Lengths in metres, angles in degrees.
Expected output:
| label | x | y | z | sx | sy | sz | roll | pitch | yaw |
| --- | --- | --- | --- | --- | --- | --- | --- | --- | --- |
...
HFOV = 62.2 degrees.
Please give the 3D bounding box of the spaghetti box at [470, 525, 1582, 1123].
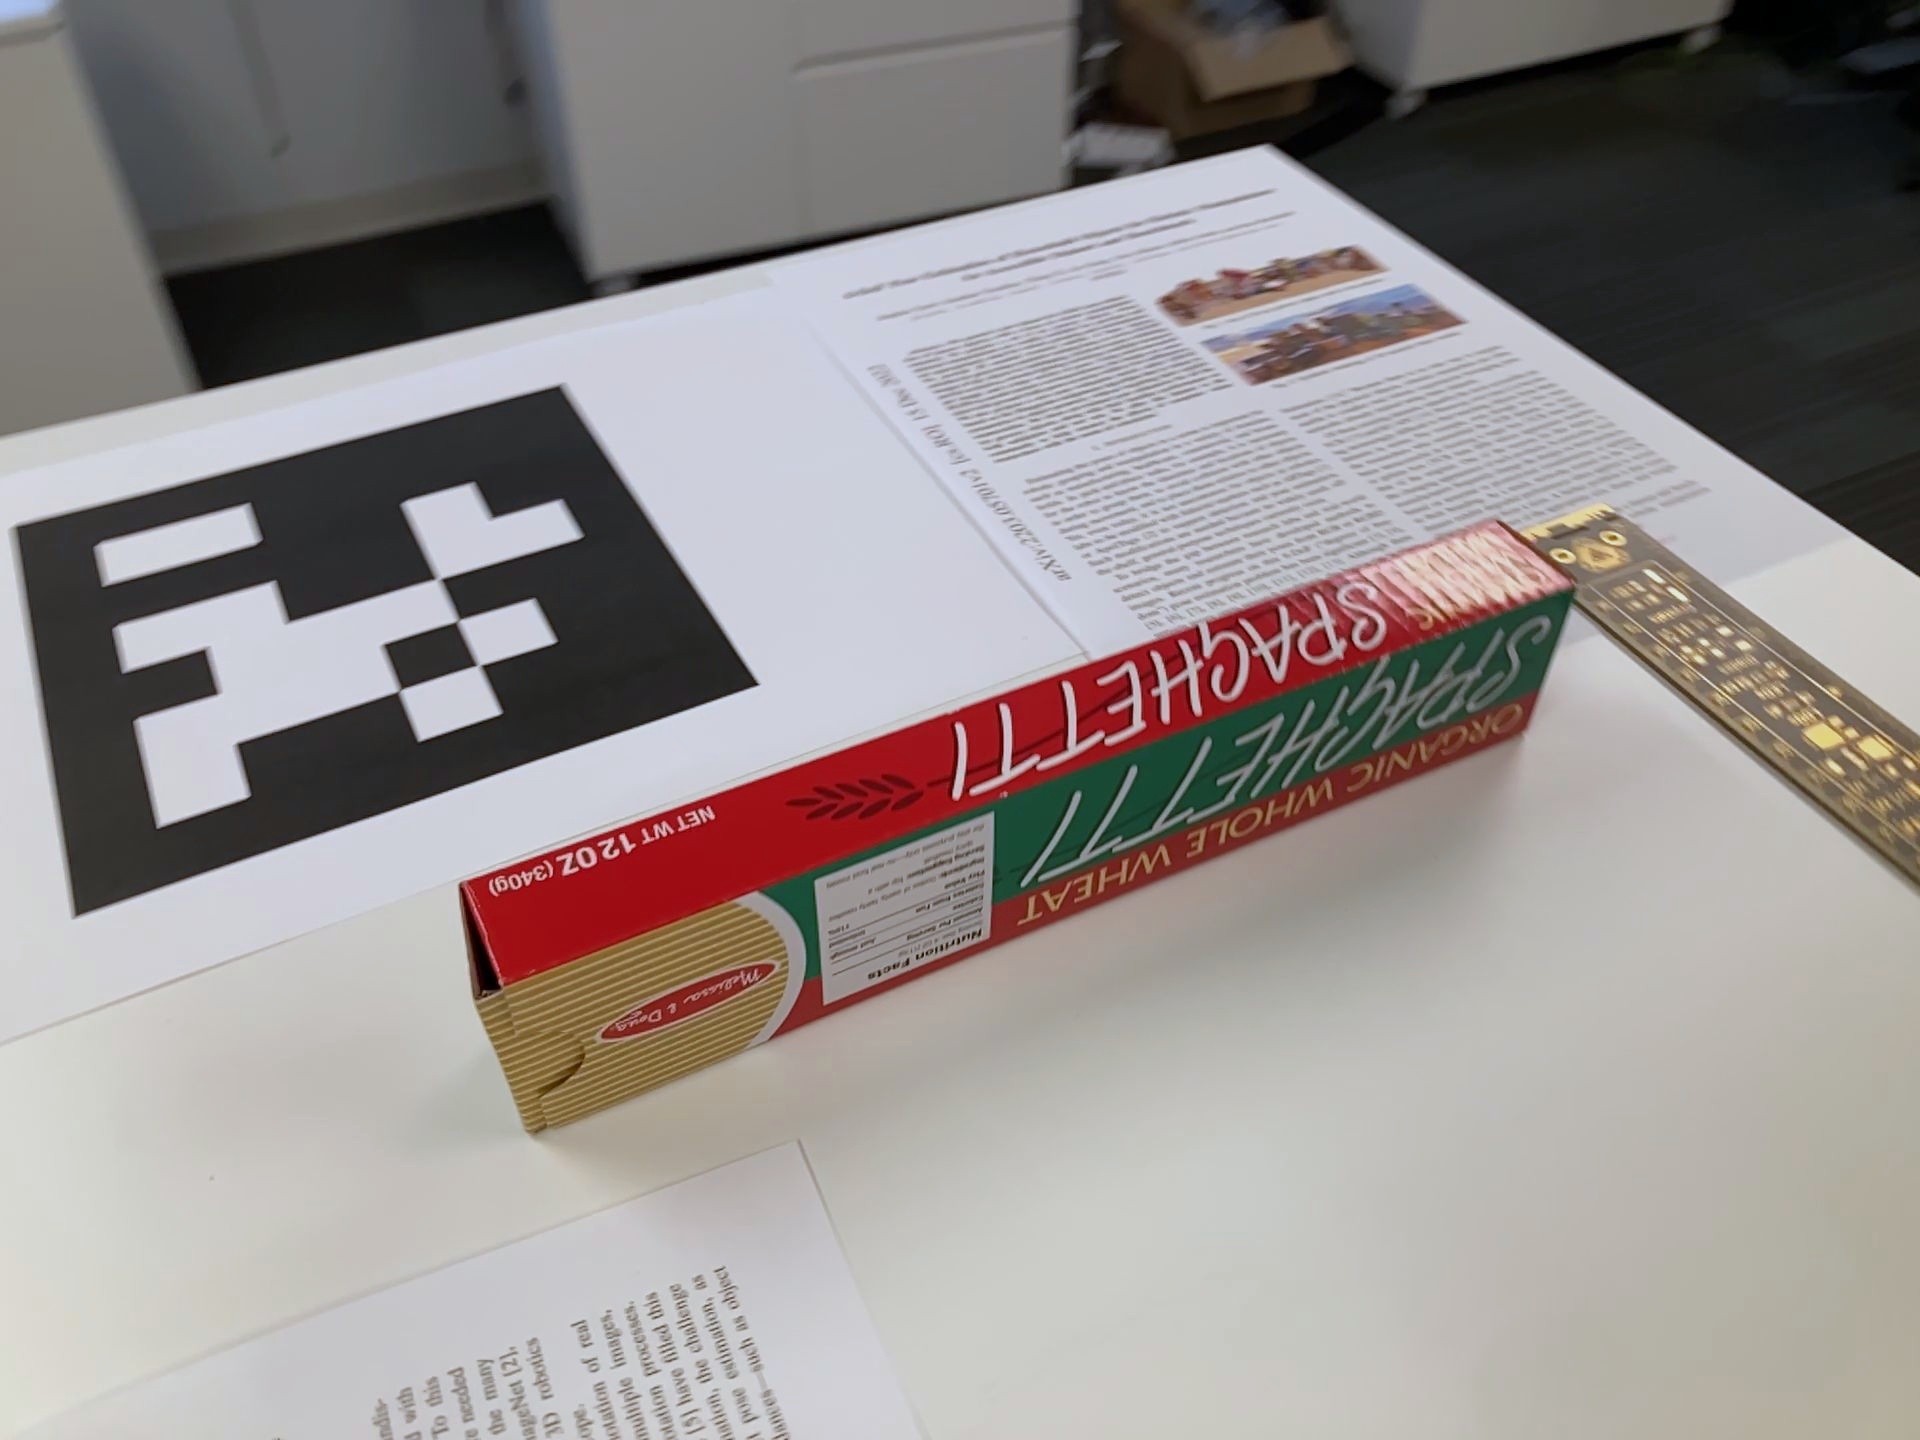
| label | x | y | z | sx | sy | sz | roll | pitch | yaw |
| --- | --- | --- | --- | --- | --- | --- | --- | --- | --- |
| spaghetti box | 0.024 | 0.016 | 0.342 | 0.250 | 0.050 | 0.028 | -19 | 49 | -19 |
